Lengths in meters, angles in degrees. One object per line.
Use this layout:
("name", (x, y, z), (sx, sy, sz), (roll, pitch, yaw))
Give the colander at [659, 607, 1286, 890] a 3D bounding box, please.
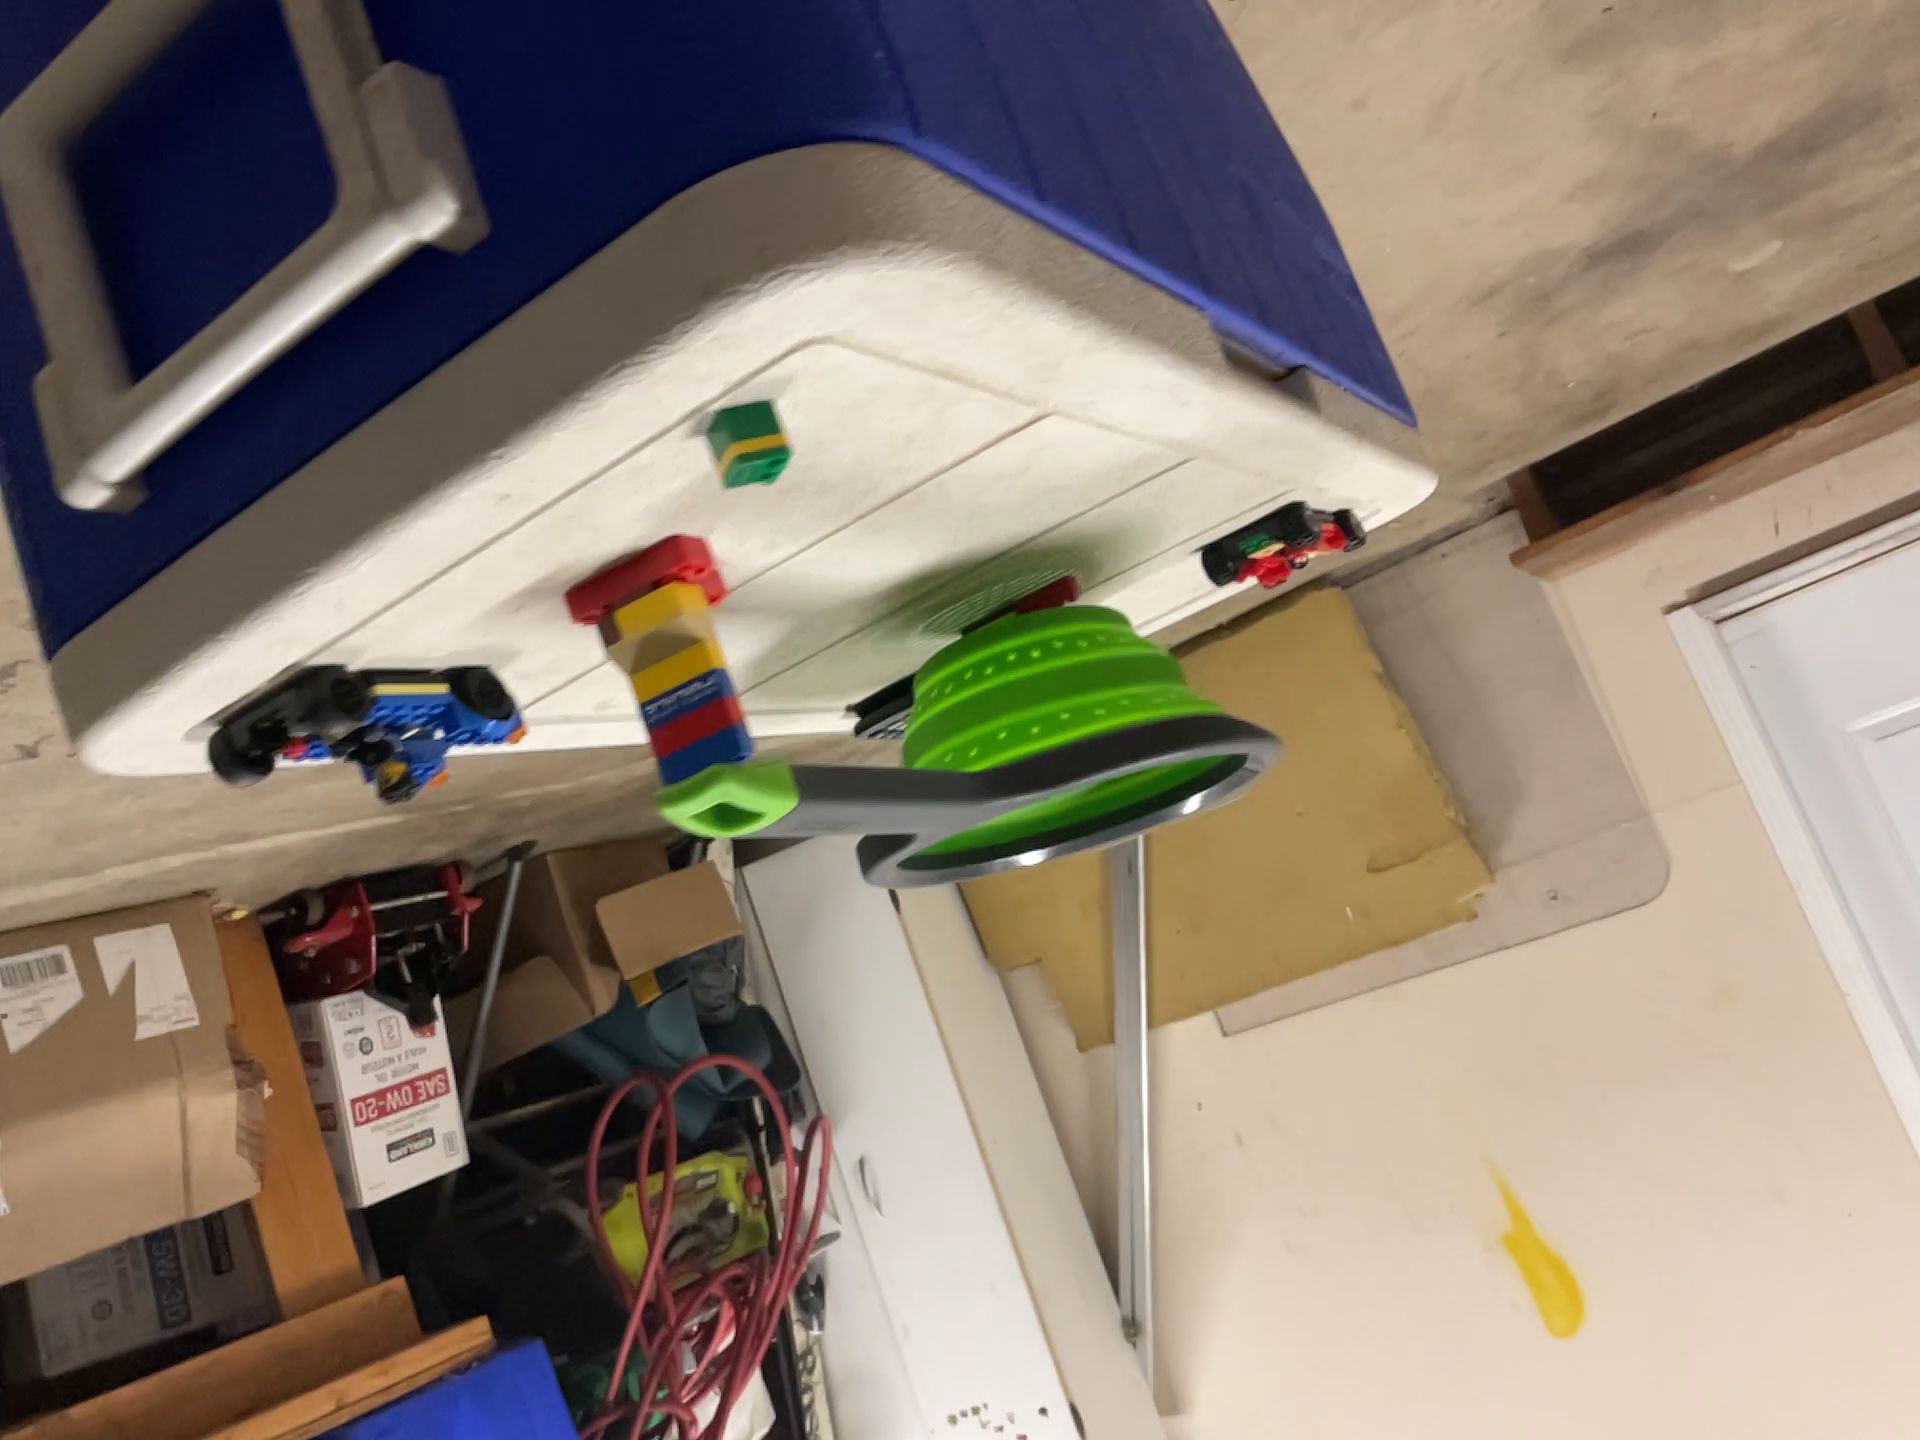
("colander", (0.002, 0.002, 0.683), (0.204, 0.094, 0.397), (-22, 166, 26))
